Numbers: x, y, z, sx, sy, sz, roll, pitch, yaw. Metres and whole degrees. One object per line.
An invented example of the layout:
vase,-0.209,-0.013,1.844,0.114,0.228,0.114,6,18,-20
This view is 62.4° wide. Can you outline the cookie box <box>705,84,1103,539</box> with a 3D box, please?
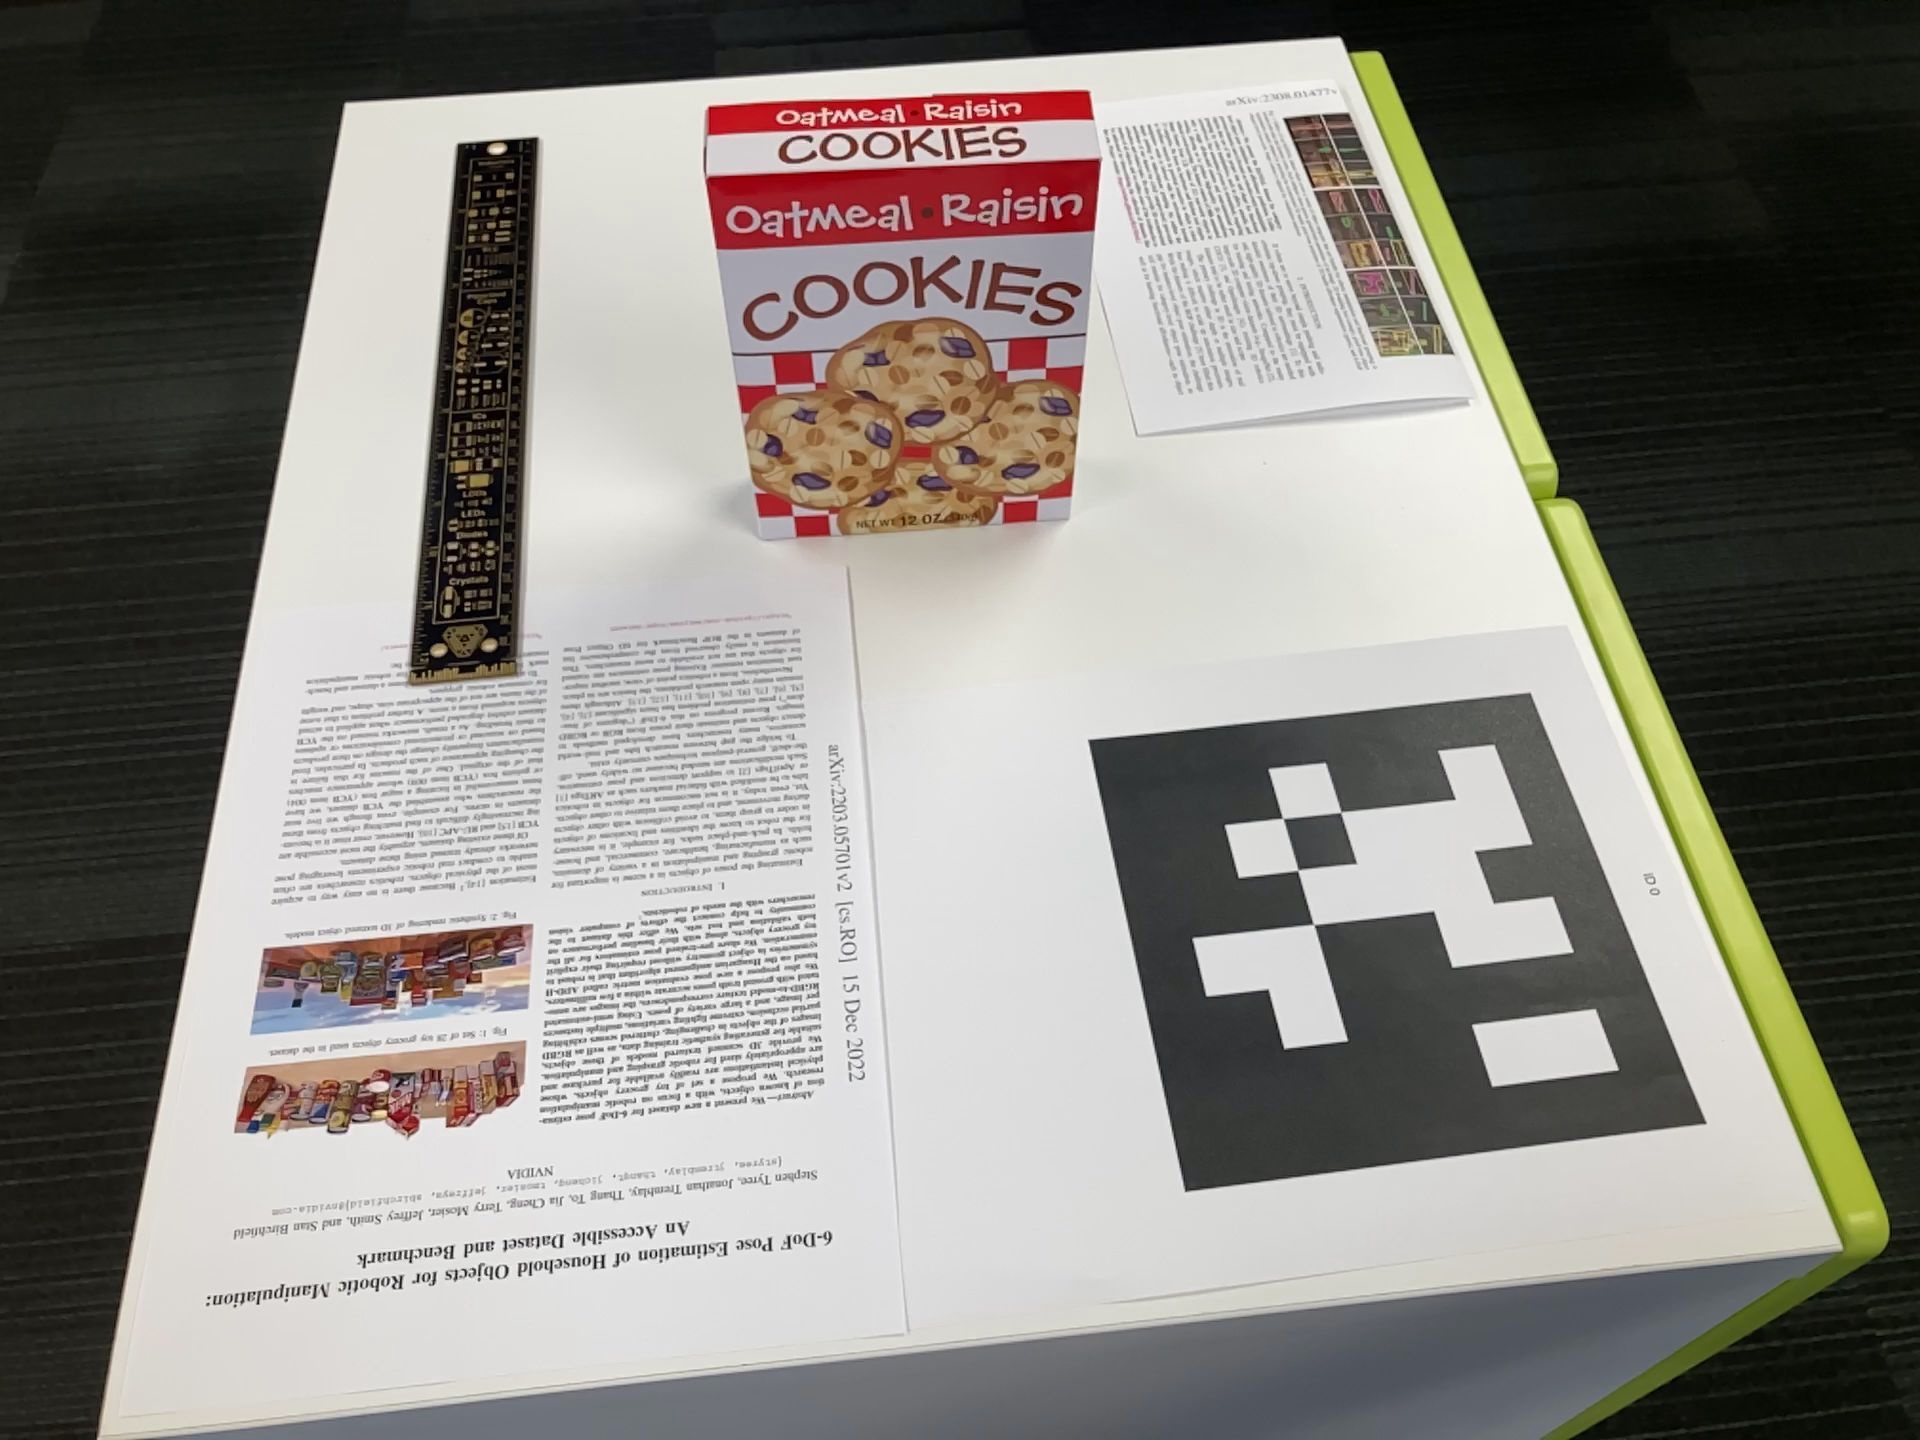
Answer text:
cookie box,-0.018,-0.138,0.559,0.123,0.167,0.040,-4,55,-3
